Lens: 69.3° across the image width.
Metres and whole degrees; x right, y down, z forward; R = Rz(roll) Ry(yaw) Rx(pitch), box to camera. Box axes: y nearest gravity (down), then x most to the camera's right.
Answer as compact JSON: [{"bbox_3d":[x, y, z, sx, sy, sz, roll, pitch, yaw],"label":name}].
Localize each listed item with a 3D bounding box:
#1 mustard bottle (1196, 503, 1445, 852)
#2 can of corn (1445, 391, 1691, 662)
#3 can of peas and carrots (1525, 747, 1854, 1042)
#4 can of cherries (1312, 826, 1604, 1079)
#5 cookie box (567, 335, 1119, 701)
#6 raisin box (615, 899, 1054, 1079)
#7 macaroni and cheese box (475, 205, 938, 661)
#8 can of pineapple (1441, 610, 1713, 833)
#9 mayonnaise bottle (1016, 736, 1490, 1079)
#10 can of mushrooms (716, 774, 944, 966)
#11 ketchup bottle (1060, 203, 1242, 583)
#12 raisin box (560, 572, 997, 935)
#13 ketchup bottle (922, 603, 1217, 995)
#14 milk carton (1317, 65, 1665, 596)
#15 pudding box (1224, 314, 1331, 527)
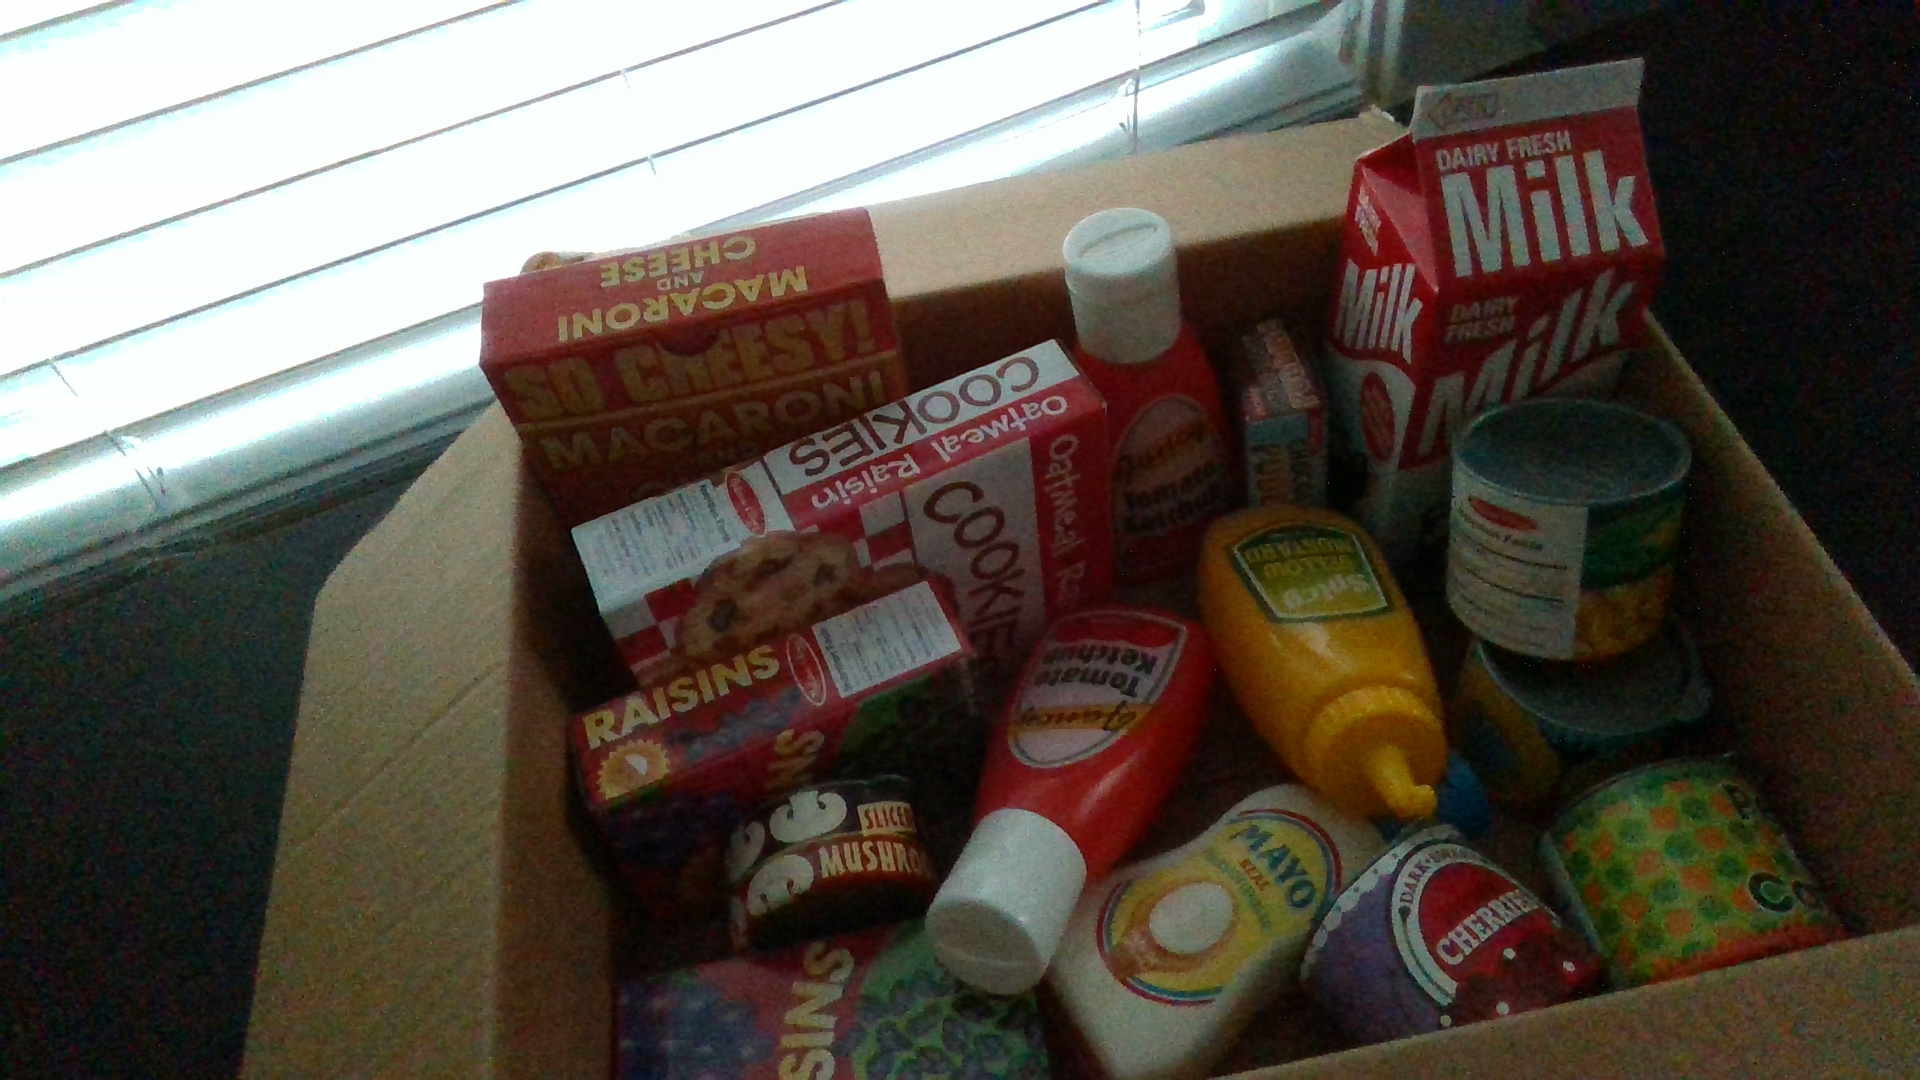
[{"bbox_3d":[0.119,0.041,0.443,0.065,0.048,0.161,-7,28,-1],"label":"mustard bottle"},{"bbox_3d":[0.187,-0.006,0.429,0.071,0.058,0.071,-7,33,5],"label":"can of corn"},{"bbox_3d":[0.210,0.102,0.400,0.071,0.070,0.059,-12,51,-3],"label":"can of peas and carrots"},{"bbox_3d":[0.149,0.129,0.419,0.072,0.071,0.058,-31,50,-18],"label":"can of cherries"},{"bbox_3d":[-0.029,0.013,0.467,0.168,0.122,0.040,-23,52,-11],"label":"cookie box"},{"bbox_3d":[-0.034,0.159,0.398,0.123,0.039,0.086,-11,47,-1],"label":"raisin box"},{"bbox_3d":[-0.077,-0.028,0.479,0.124,0.165,0.040,-12,54,-3],"label":"macaroni and cheese box"},{"bbox_3d":[0.196,0.054,0.449,0.071,0.057,0.071,-2,45,2],"label":"can of pineapple"},{"bbox_3d":[0.093,0.108,0.424,0.148,0.041,0.065,-28,49,-16],"label":"mayonnaise bottle"},{"bbox_3d":[-0.038,0.104,0.427,0.071,0.070,0.033,-14,51,-5],"label":"can of mushrooms"},{"bbox_3d":[0.063,-0.048,0.487,0.065,0.148,0.044,-23,48,-4],"label":"ketchup bottle"},{"bbox_3d":[-0.053,0.071,0.447,0.123,0.085,0.040,-21,51,-10],"label":"raisin box"},{"bbox_3d":[0.034,0.075,0.433,0.065,0.043,0.149,2,29,24],"label":"ketchup bottle"},{"bbox_3d":[0.170,-0.069,0.467,0.072,0.189,0.074,-10,50,-4],"label":"milk carton"},{"bbox_3d":[0.116,-0.036,0.513,0.030,0.083,0.050,-9,51,4],"label":"pudding box"}]
